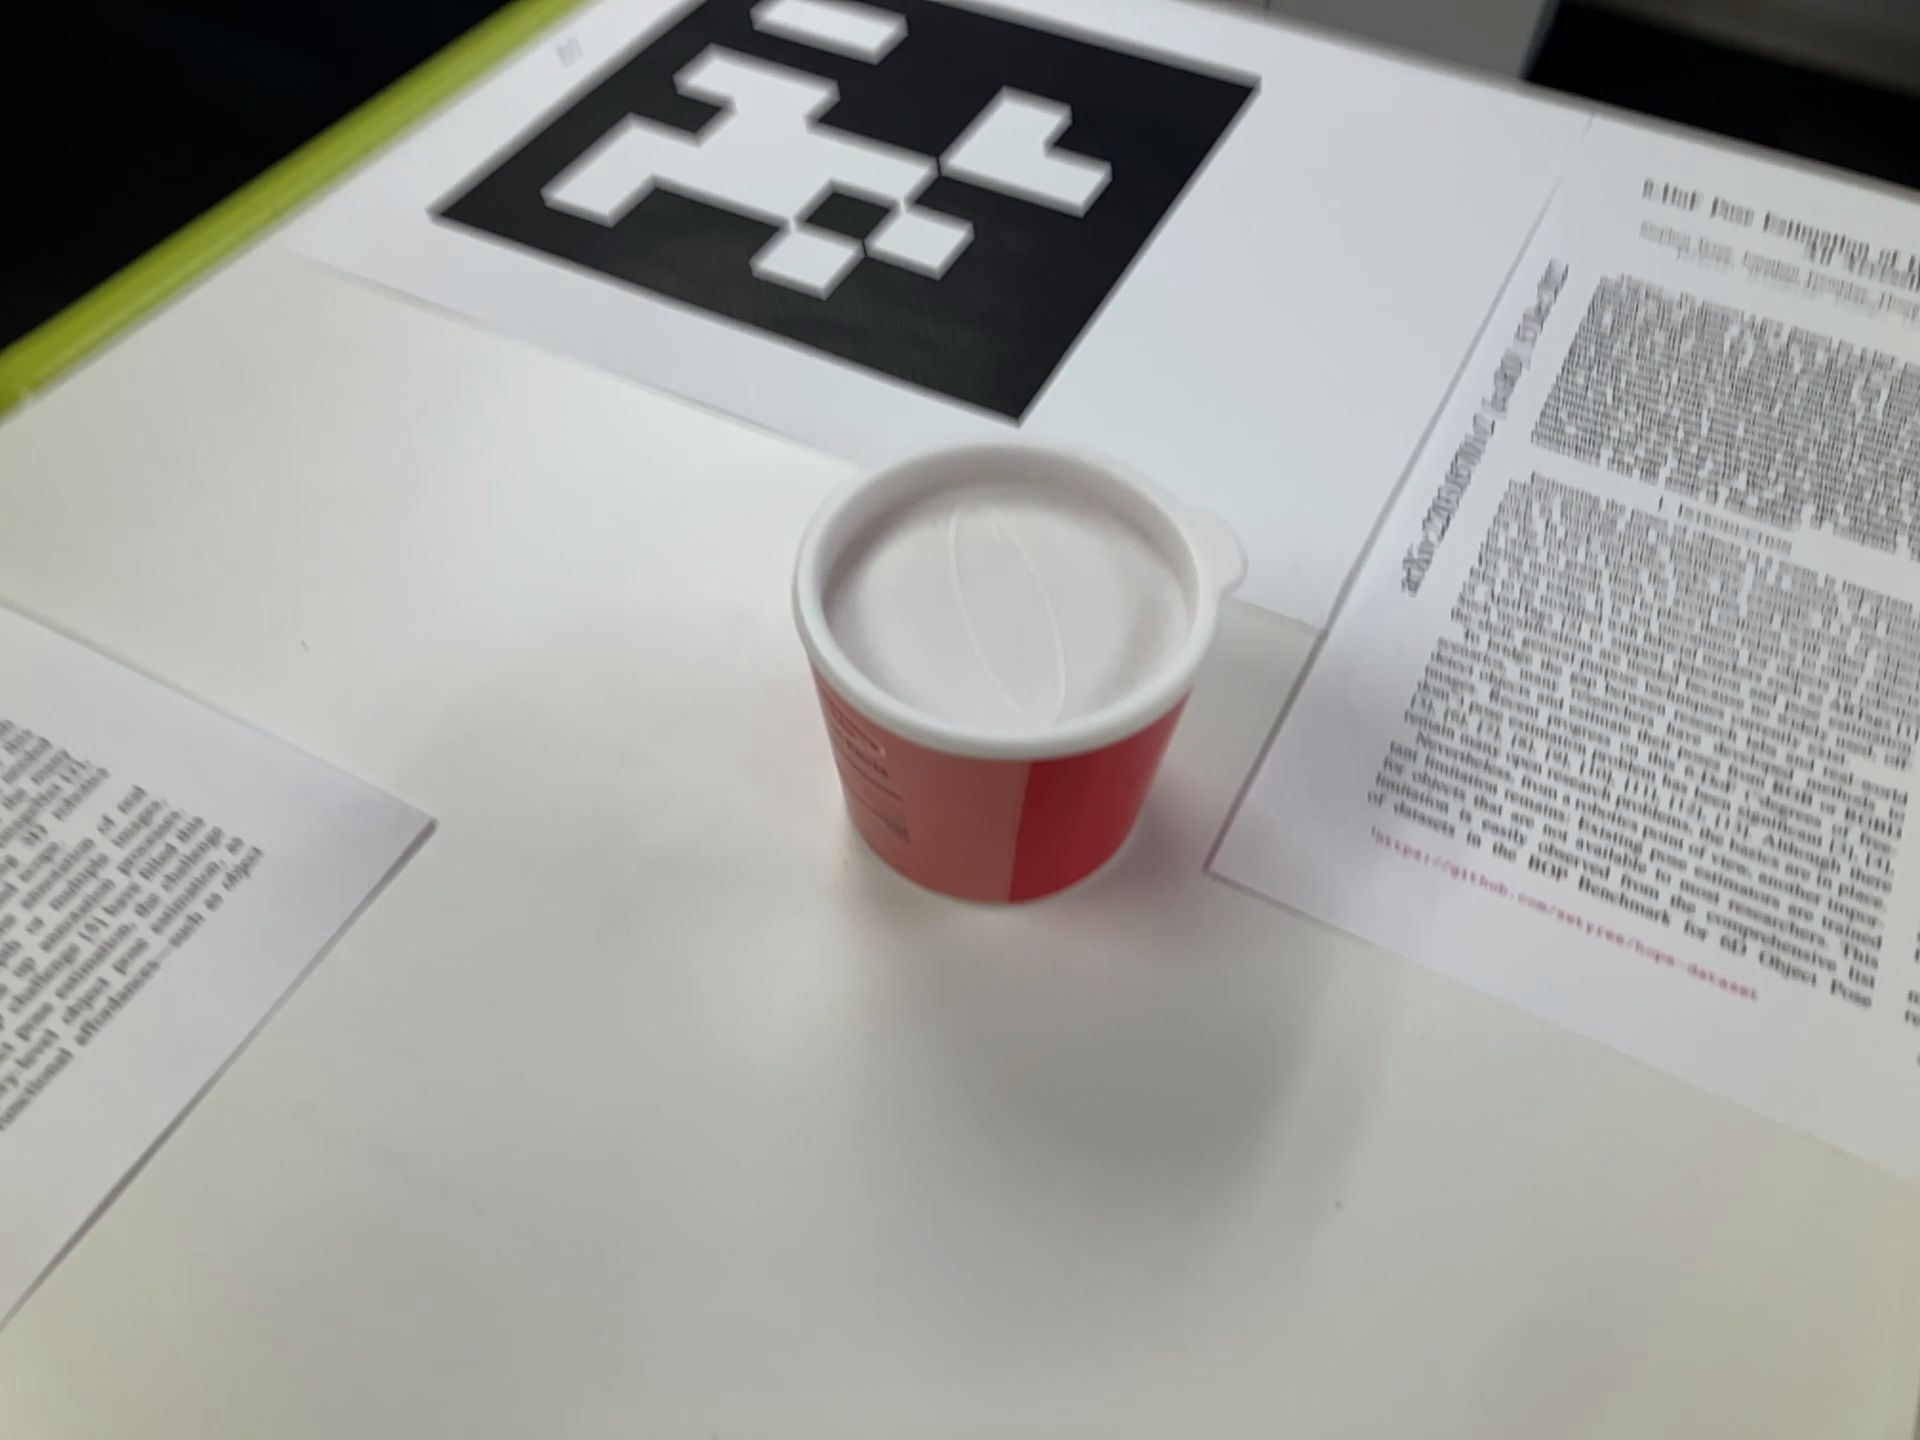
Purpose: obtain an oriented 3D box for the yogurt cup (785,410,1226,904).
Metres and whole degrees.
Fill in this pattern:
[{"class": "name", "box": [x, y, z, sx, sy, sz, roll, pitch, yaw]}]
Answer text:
[{"class": "yogurt cup", "box": [0.007, -0.006, 0.264, 0.072, 0.054, 0.072, 0, 51, 0]}]
